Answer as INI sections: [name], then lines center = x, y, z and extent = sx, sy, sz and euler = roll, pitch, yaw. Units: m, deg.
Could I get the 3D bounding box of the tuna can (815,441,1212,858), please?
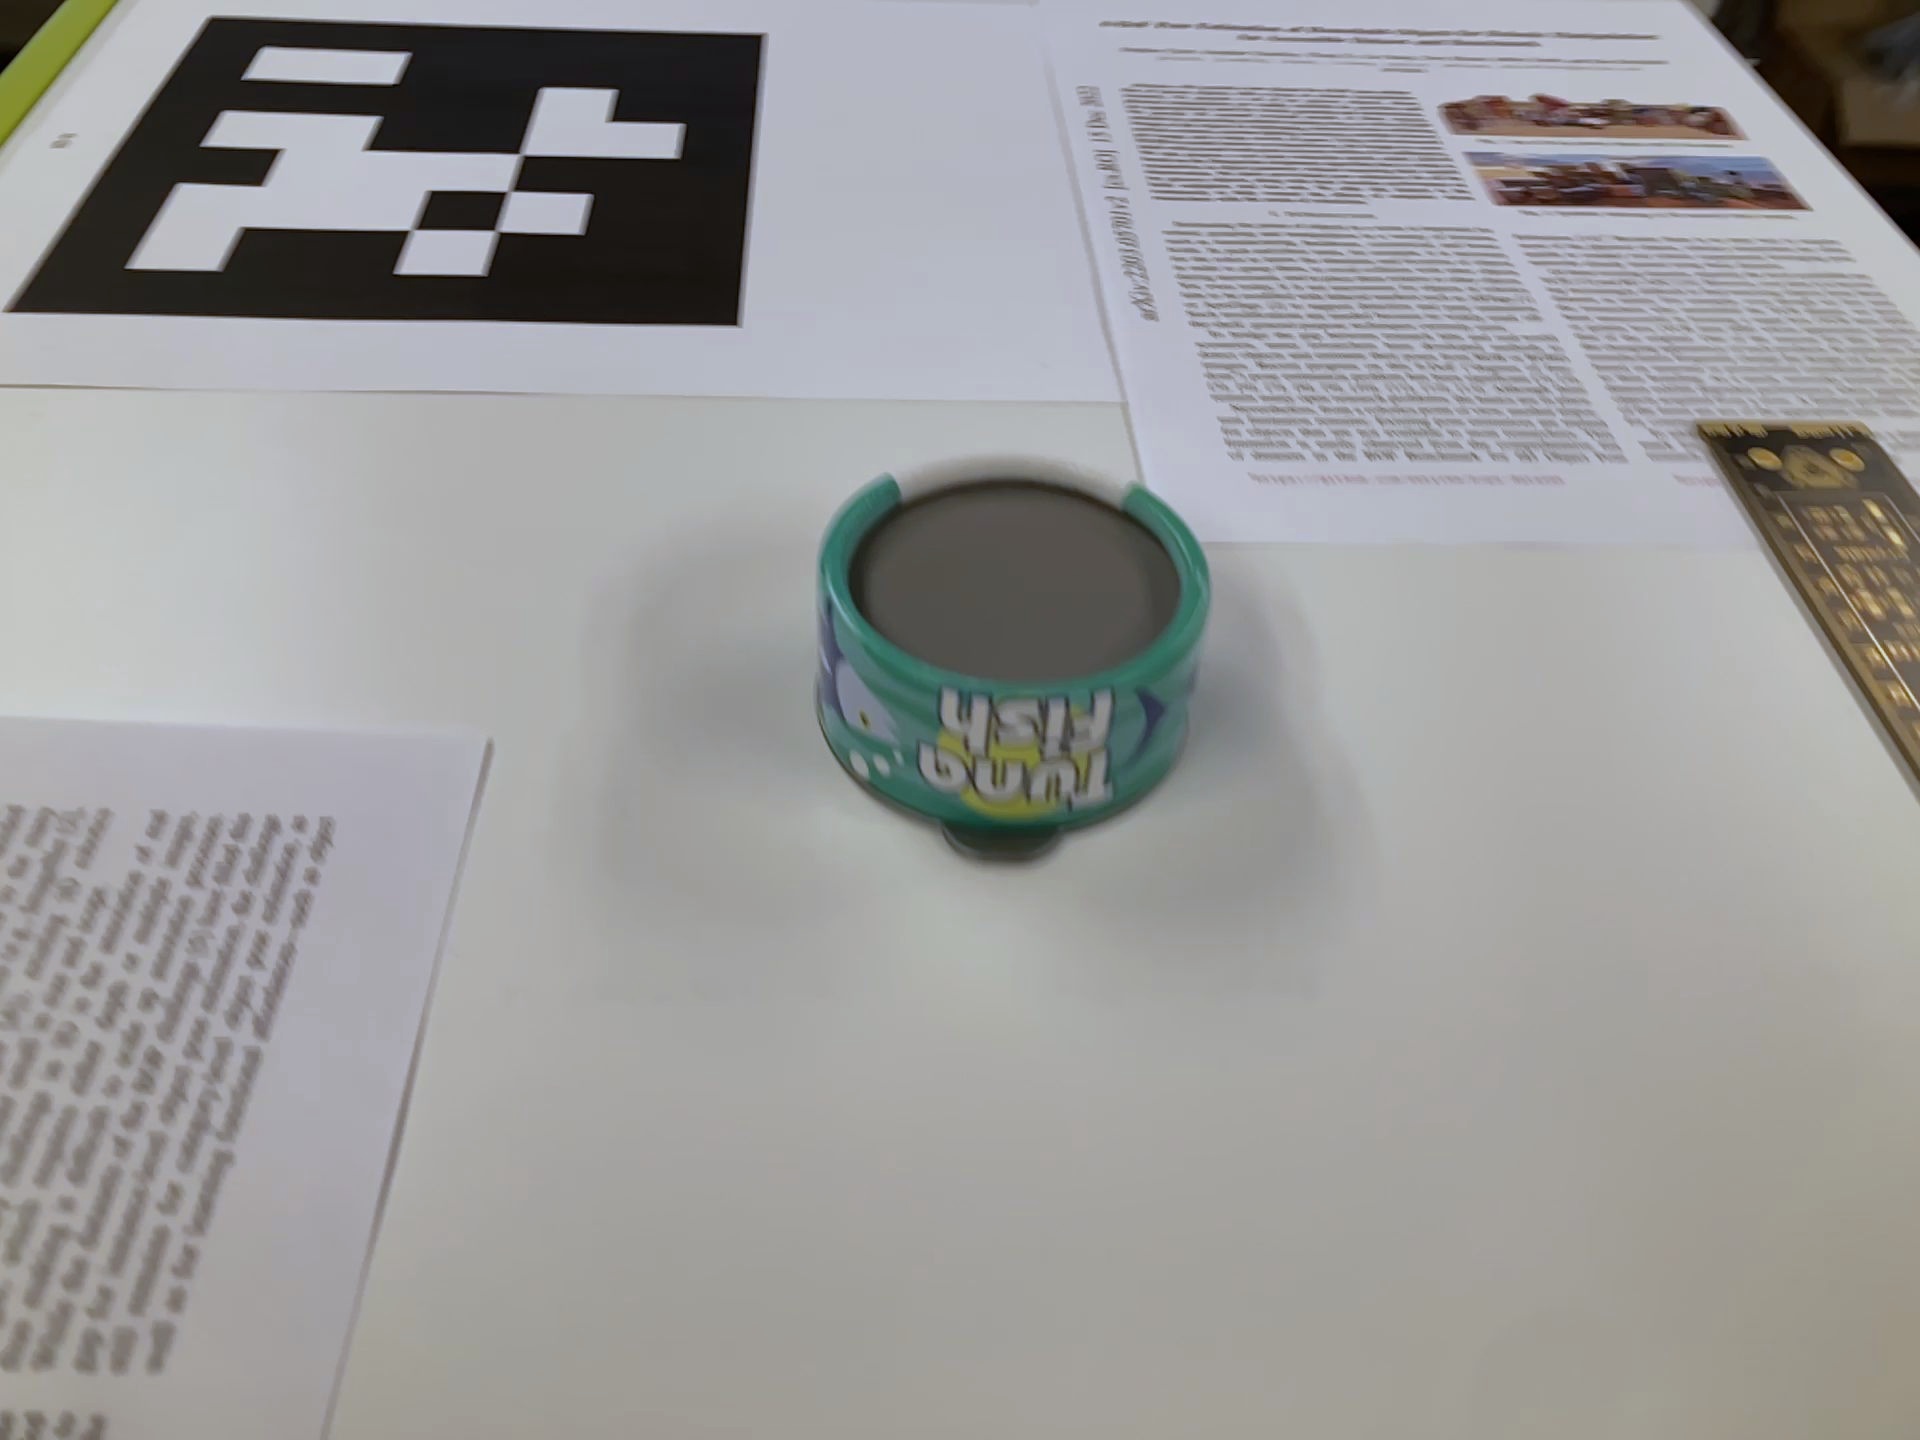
[tuna can]
center = 0.008, -0.014, 0.268
extent = 0.071, 0.033, 0.071
euler = 1, 46, -1
